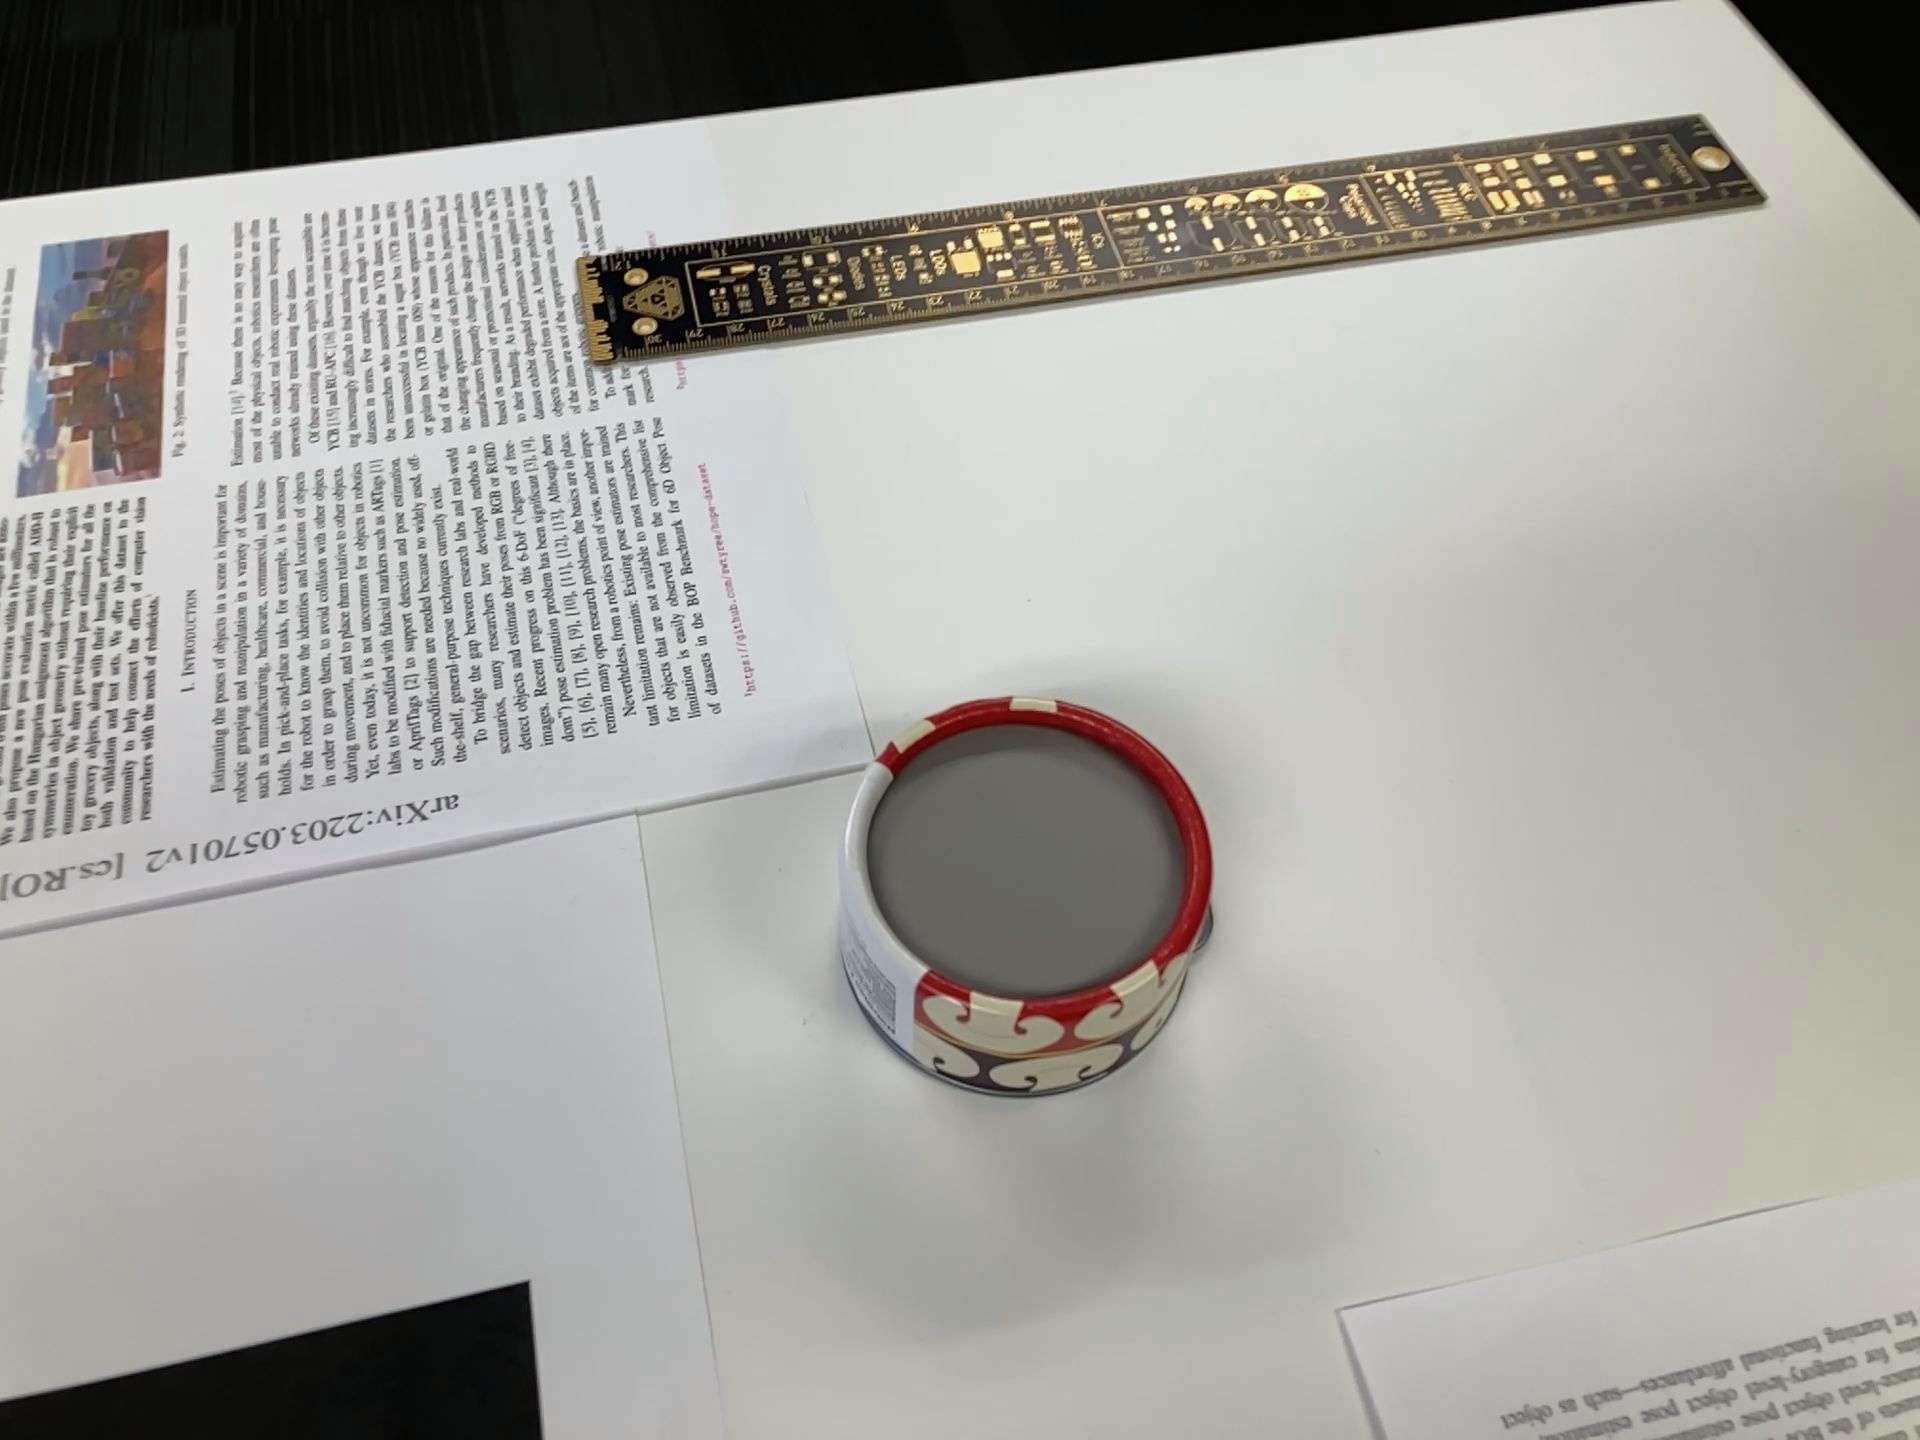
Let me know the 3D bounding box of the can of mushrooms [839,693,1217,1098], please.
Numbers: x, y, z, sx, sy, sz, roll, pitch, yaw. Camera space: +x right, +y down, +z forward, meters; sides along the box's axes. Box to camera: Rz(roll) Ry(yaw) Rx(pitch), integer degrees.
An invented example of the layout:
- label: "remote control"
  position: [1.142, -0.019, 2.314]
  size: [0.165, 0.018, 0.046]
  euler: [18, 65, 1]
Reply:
- label: "can of mushrooms"
  position: [0.013, 0.030, 0.285]
  size: [0.071, 0.033, 0.071]
  euler: [1, 55, -2]
